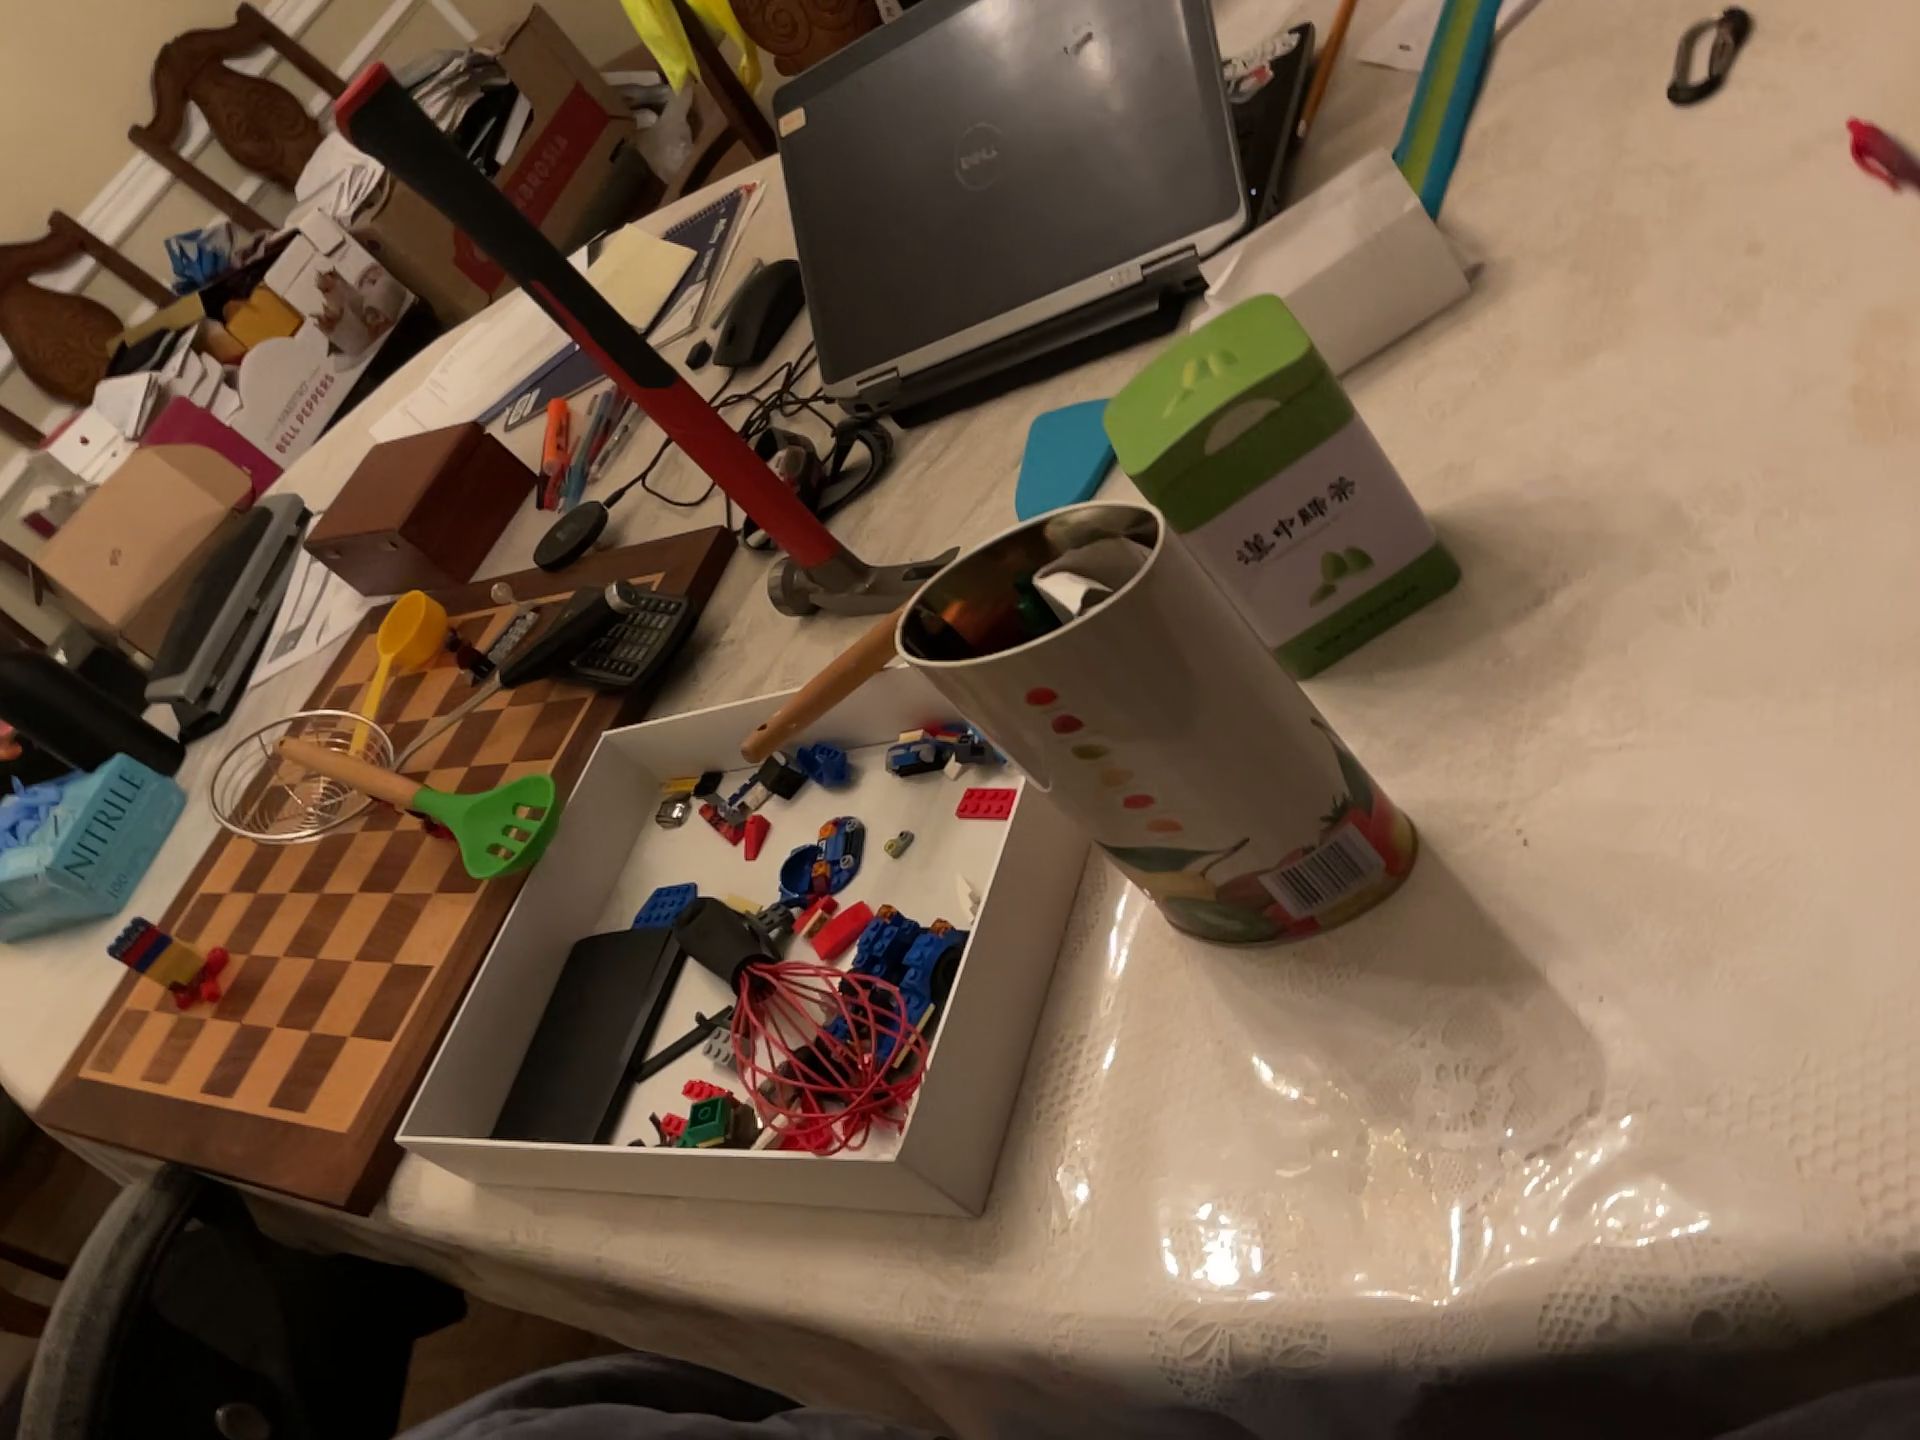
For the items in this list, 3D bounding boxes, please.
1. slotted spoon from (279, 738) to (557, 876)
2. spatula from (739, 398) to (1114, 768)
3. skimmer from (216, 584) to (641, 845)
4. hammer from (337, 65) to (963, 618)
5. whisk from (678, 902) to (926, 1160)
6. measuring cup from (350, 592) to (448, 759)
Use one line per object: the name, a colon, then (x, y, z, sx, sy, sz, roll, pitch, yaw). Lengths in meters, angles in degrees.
slotted spoon: (-0.344, 0.042, 0.987, 0.314, 0.031, 0.070, 12, 65, 41)
spatula: (-0.011, -0.078, 0.833, 0.083, 0.044, 0.317, 1, 35, 45)
skimmer: (-0.372, -0.016, 1.098, 0.363, 0.090, 0.127, -30, 36, 28)
hammer: (-0.159, -0.186, 0.844, 0.143, 0.385, 0.038, -3, 52, 44)
whisk: (-0.085, 0.123, 0.714, 0.073, 0.073, 0.296, -33, 18, -14)
measuring cup: (-0.447, -0.027, 1.261, 0.062, 0.029, 0.156, -4, 64, 40)
